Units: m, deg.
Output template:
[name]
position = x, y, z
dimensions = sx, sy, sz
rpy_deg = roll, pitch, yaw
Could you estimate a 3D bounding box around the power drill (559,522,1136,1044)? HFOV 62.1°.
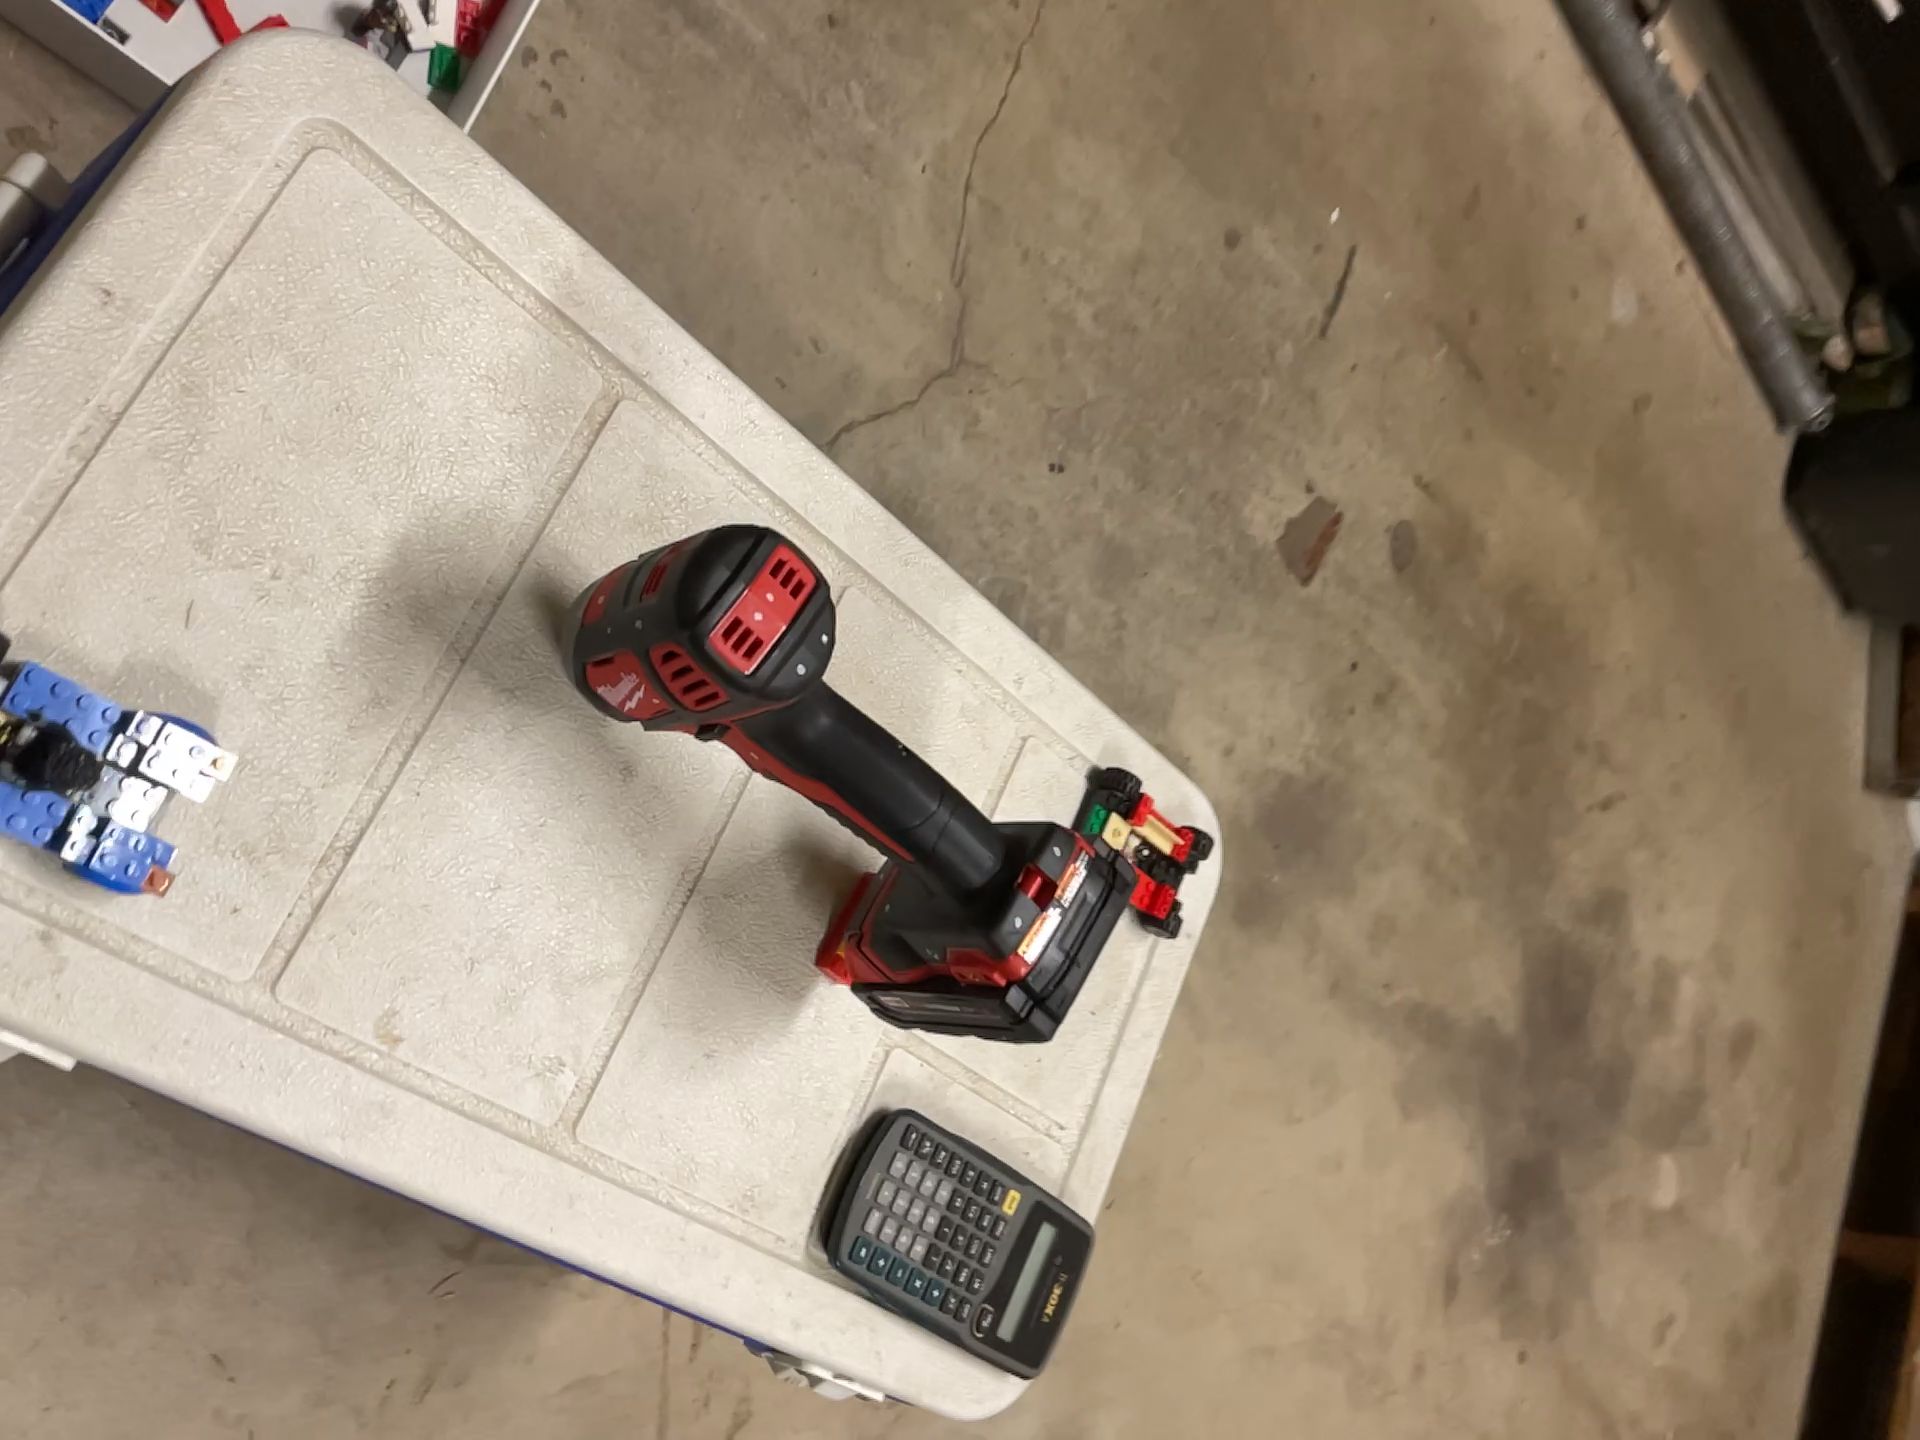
[power drill]
position = -0.051, 0.023, 0.588
dimensions = 0.219, 0.143, 0.079
rpy_deg = 46, 61, -24
